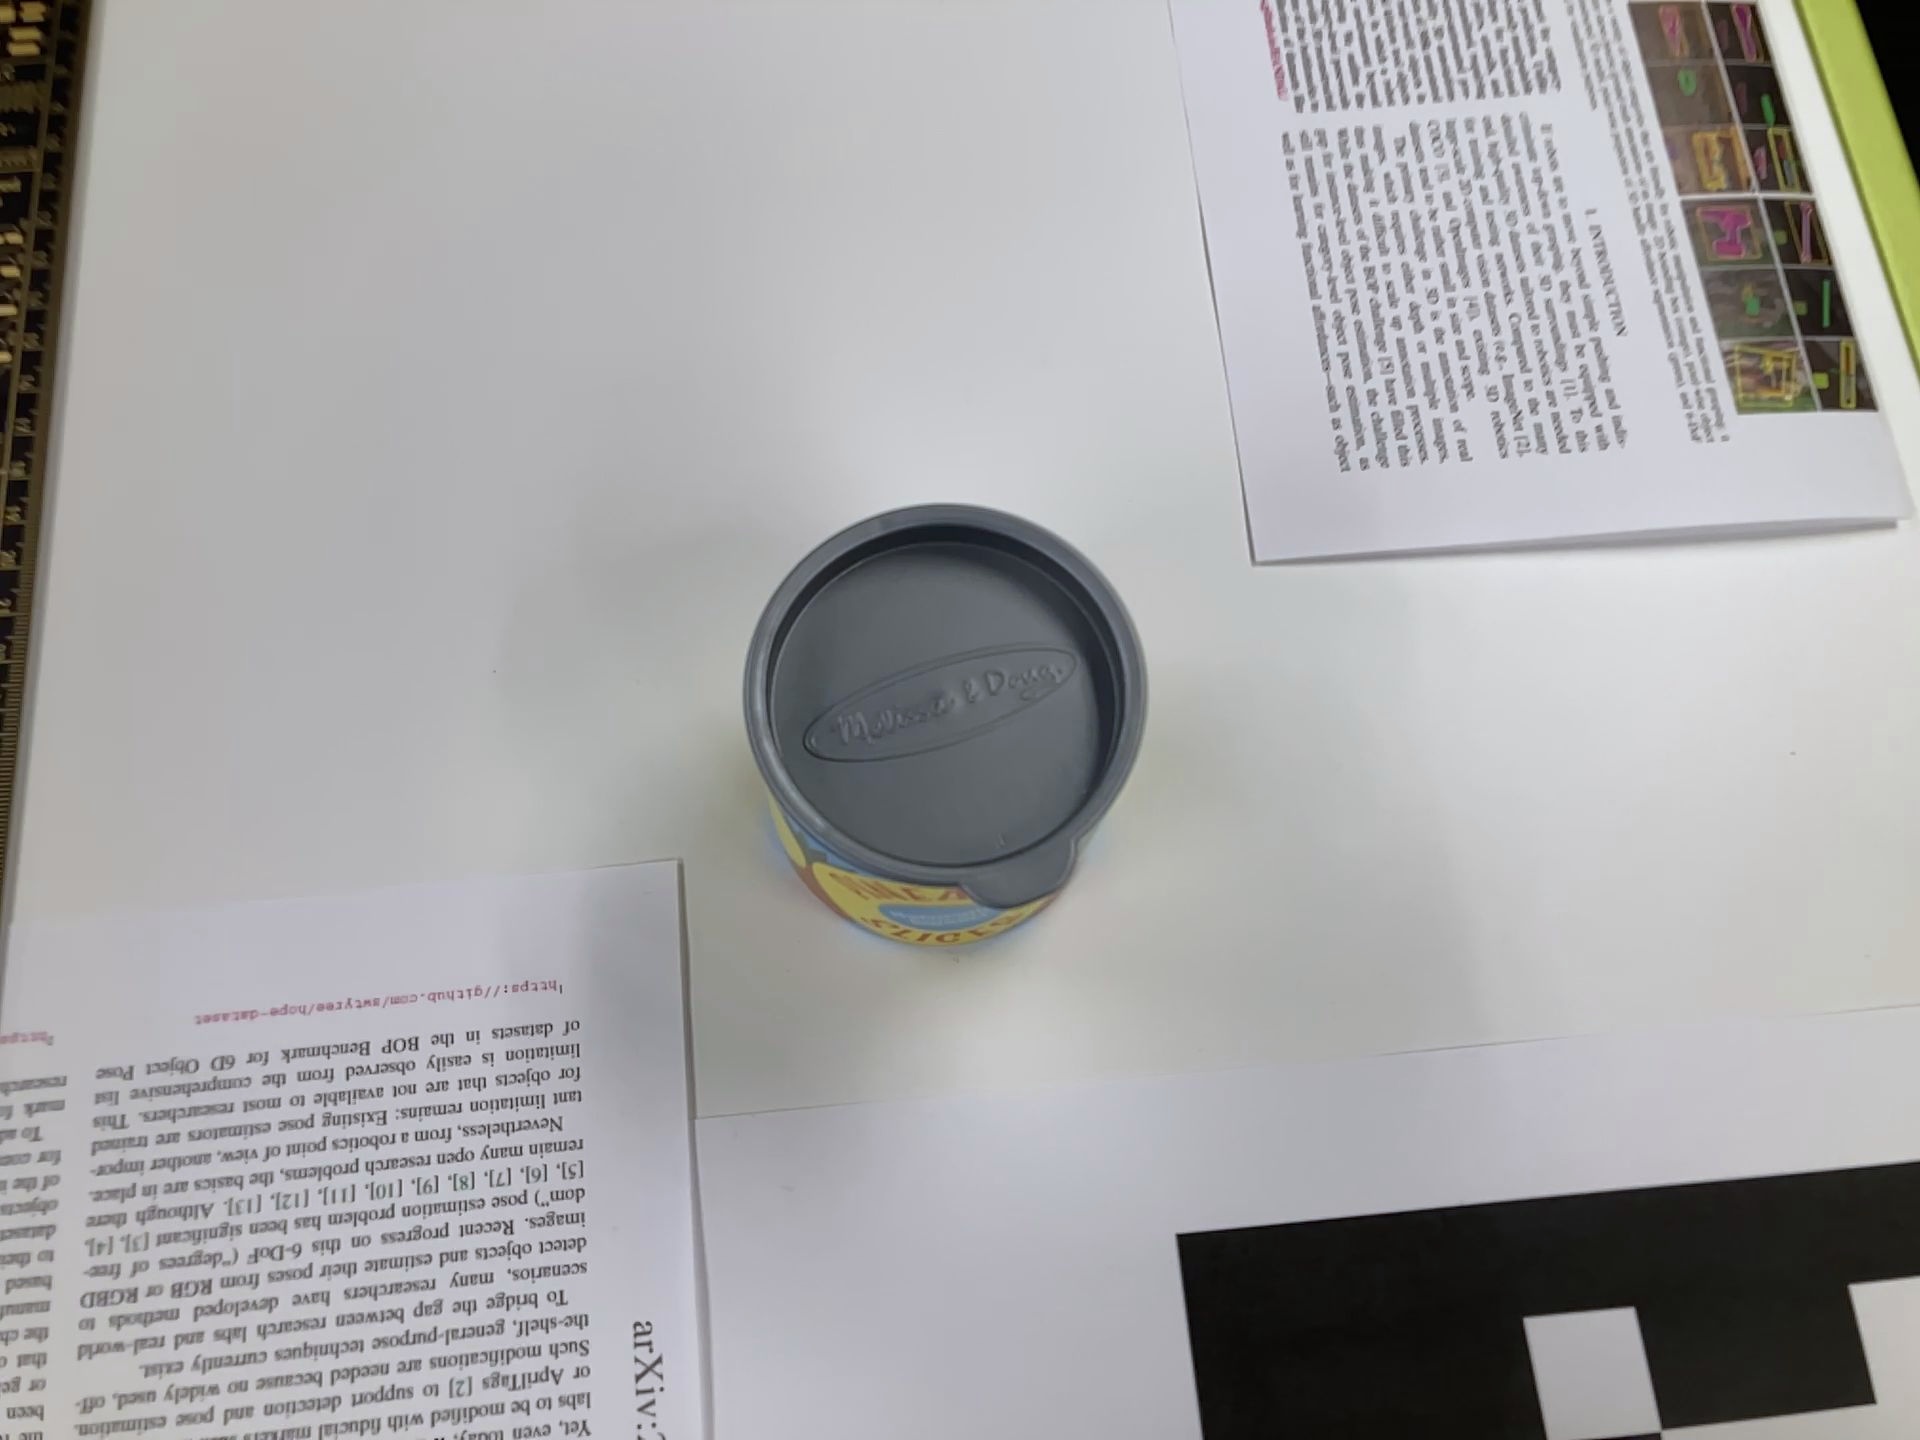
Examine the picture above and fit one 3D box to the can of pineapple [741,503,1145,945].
[{"bbox_3d":[-0.003,0.005,0.284,0.071,0.058,0.071,0,72,-1],"label":"can of pineapple"}]
